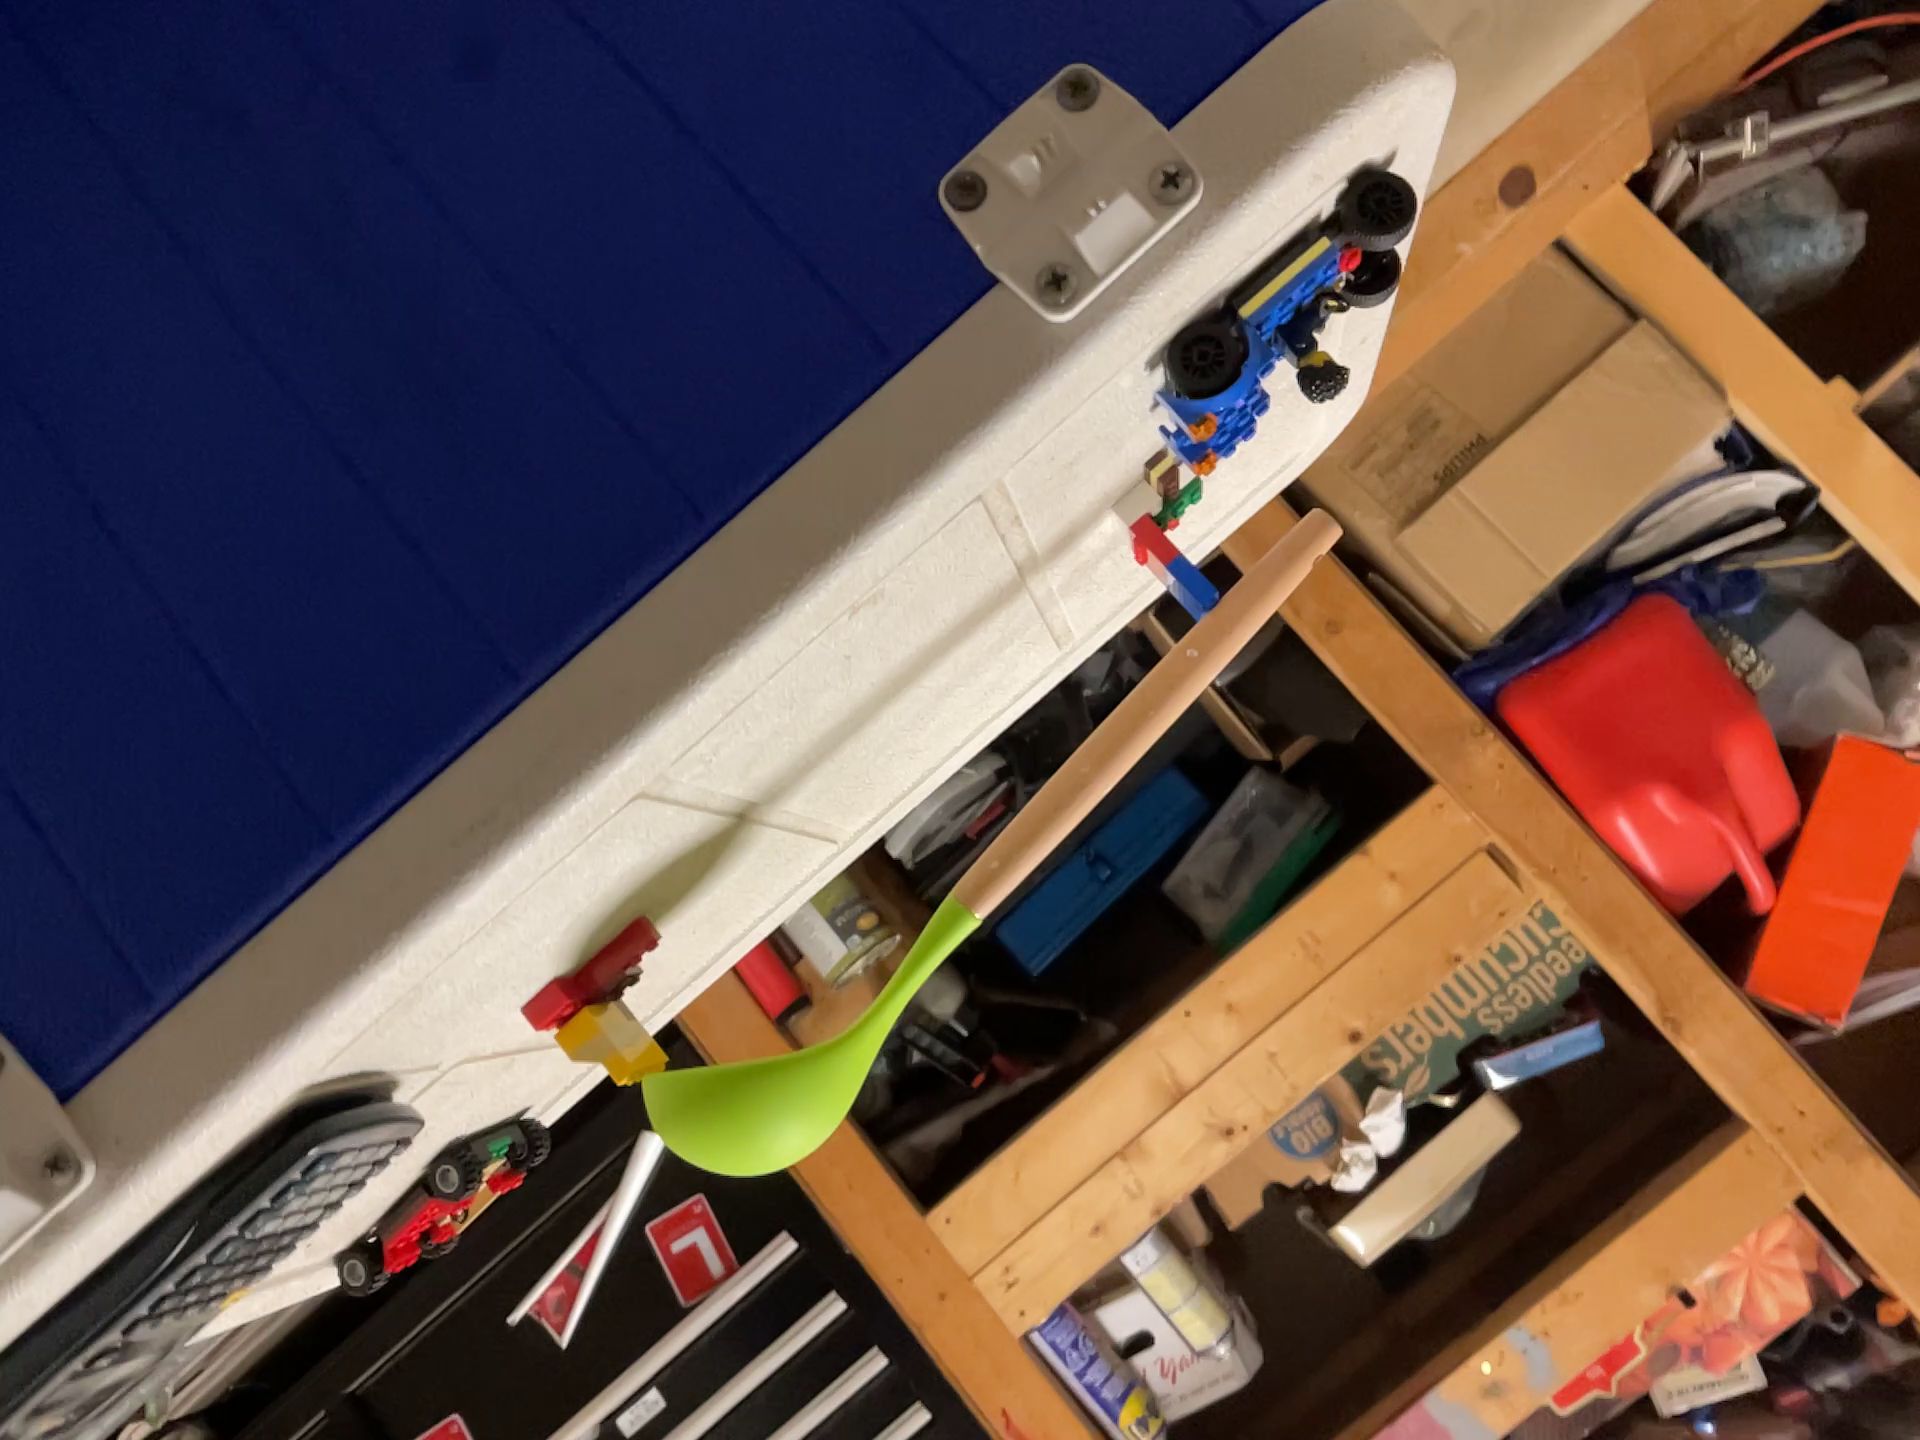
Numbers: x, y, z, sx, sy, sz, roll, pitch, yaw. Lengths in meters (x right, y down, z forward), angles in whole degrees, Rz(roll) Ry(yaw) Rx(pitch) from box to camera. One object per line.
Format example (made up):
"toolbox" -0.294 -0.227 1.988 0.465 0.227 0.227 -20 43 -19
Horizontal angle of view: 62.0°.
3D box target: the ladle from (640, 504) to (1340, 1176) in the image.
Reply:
"ladle" 0.011 0.038 0.563 0.320 0.062 0.078 -47 162 1
